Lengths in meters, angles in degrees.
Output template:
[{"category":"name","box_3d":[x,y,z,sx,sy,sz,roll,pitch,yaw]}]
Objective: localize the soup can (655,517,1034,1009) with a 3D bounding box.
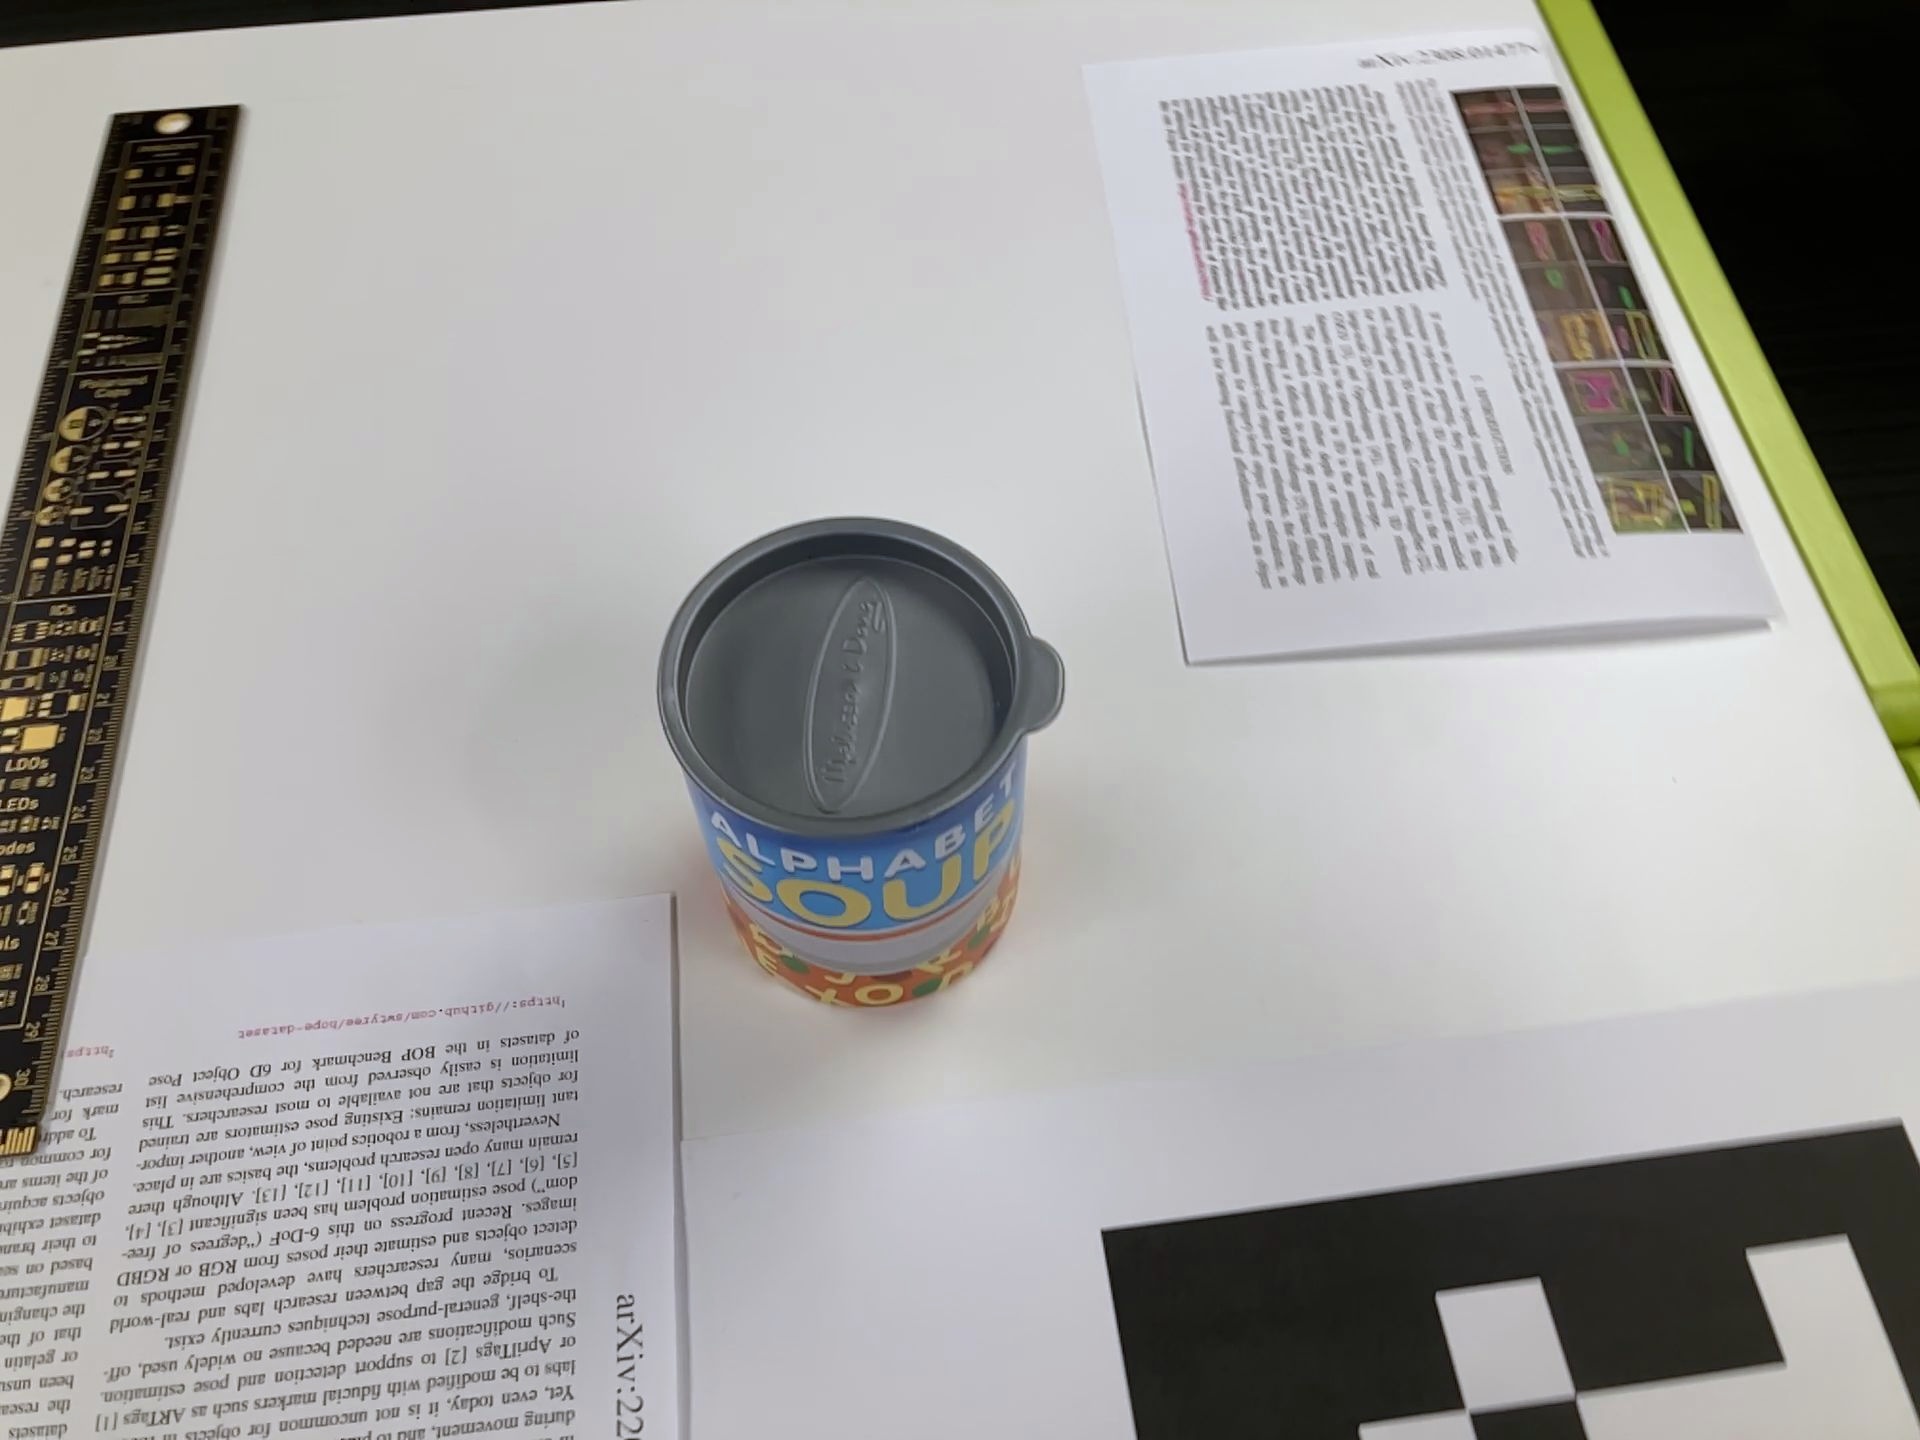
[{"category":"soup can","box_3d":[-0.019,0.014,0.311,0.071,0.084,0.071,-1,59,1]}]
